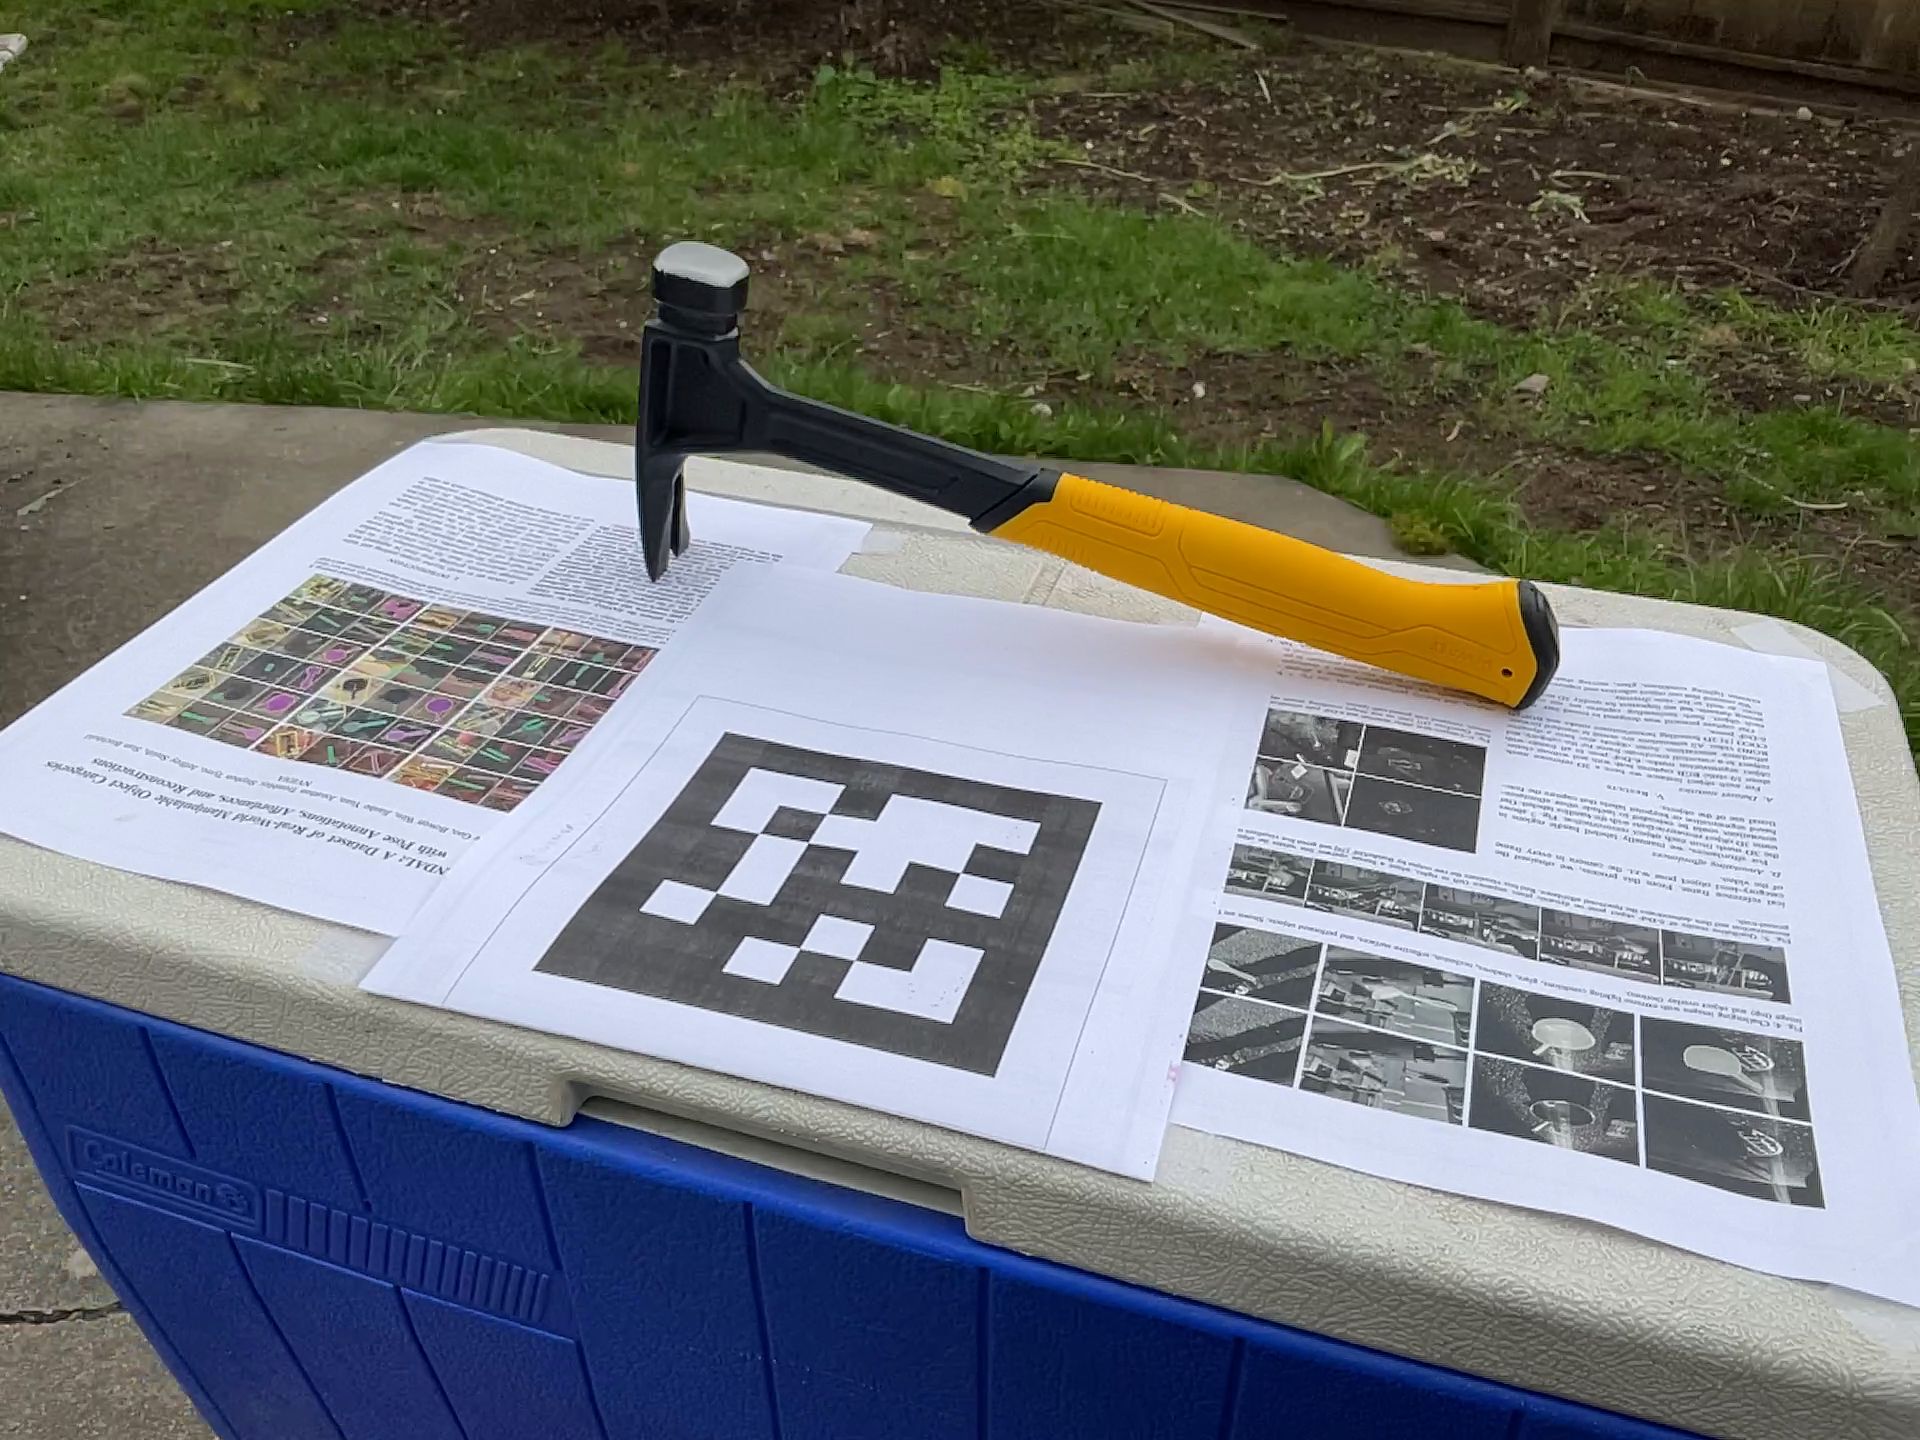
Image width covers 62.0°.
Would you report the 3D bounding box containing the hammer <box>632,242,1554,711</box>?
[{"bbox_3d":[0.040,-0.064,0.573,0.337,0.127,0.034,18,37,8],"label":"hammer"}]
